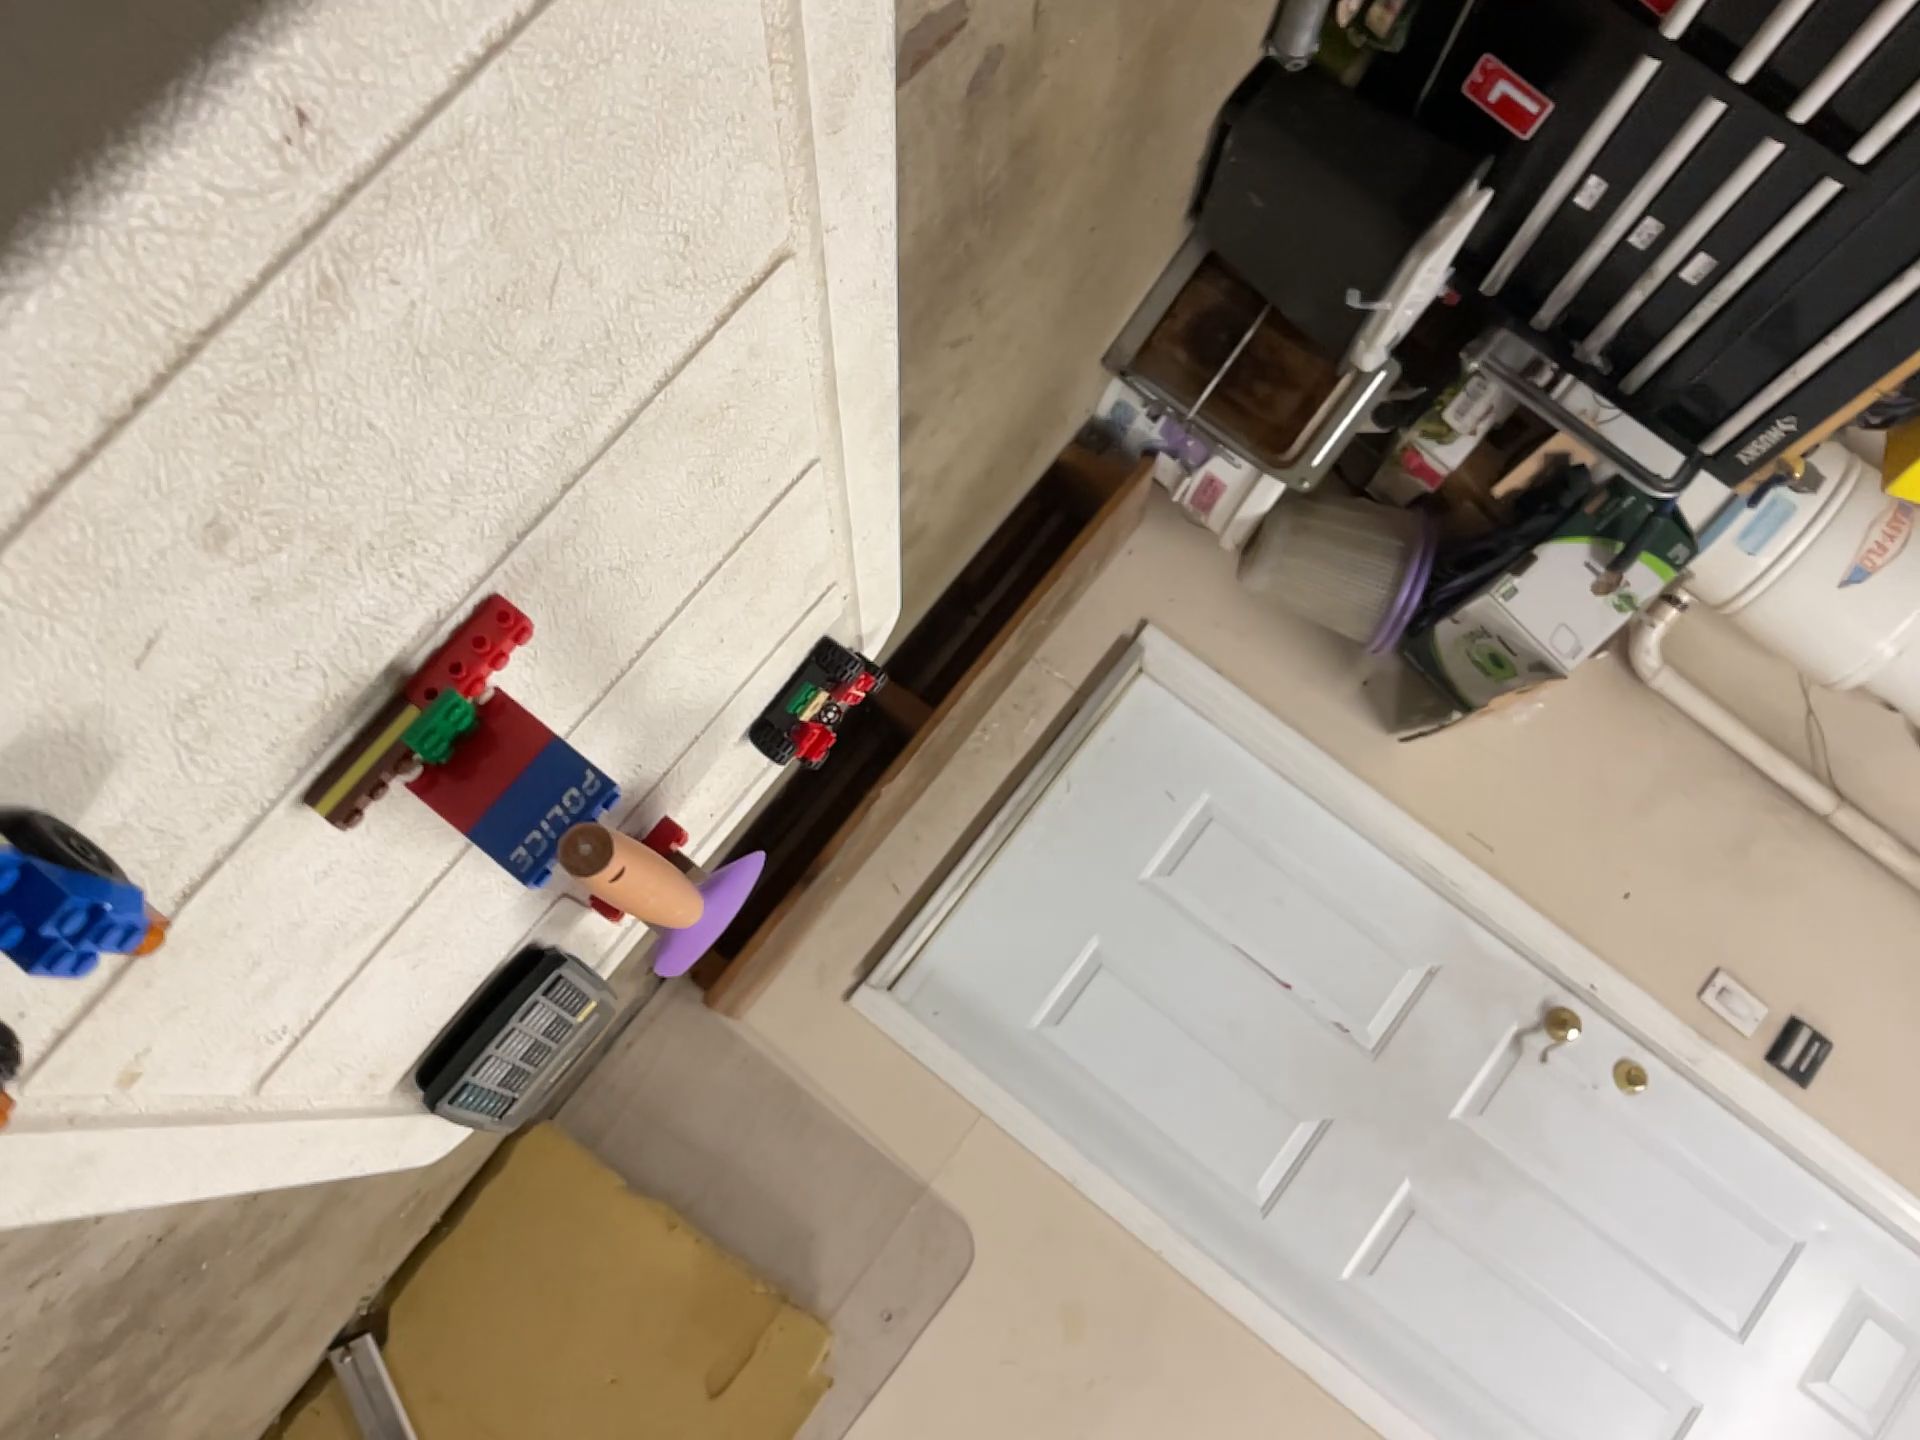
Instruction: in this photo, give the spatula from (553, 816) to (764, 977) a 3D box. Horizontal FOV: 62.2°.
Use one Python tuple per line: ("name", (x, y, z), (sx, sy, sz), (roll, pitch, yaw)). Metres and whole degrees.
("spatula", (-0.091, 0.055, 0.507), (0.060, 0.018, 0.315), (-50, 175, -10))
